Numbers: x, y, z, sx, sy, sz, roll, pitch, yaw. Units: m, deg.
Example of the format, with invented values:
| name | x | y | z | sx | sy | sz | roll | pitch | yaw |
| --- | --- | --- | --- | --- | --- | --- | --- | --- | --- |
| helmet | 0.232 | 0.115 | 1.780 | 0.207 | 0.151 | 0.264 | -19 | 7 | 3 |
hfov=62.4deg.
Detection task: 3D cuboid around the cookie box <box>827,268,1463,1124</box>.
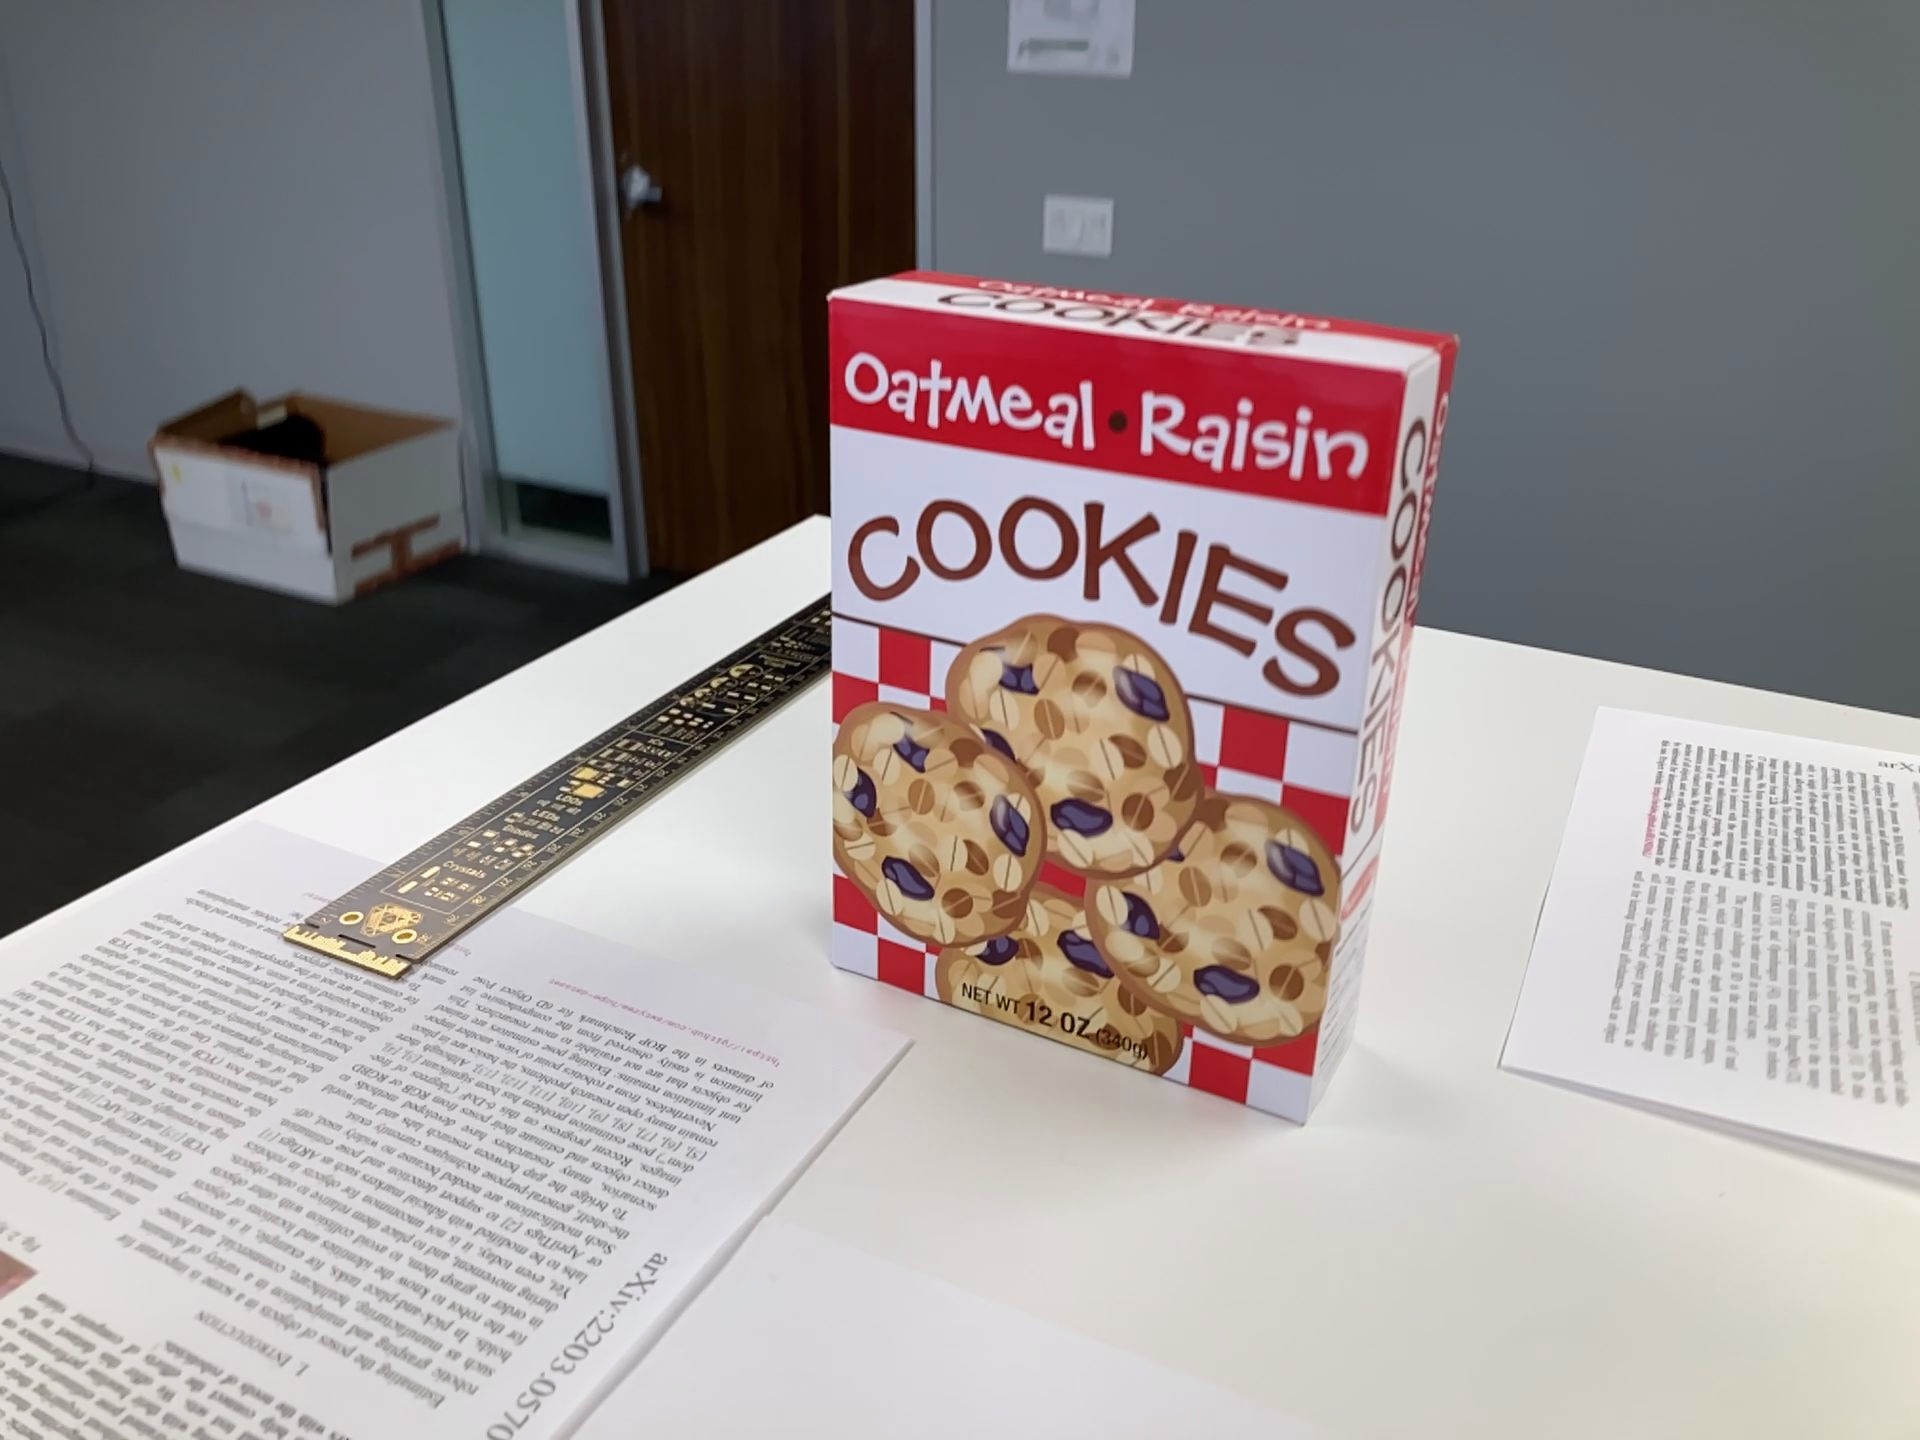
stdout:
| name | x | y | z | sx | sy | sz | roll | pitch | yaw |
| --- | --- | --- | --- | --- | --- | --- | --- | --- | --- |
| cookie box | 0.033 | -0.007 | 0.349 | 0.123 | 0.167 | 0.040 | 14 | 28 | 25 |
